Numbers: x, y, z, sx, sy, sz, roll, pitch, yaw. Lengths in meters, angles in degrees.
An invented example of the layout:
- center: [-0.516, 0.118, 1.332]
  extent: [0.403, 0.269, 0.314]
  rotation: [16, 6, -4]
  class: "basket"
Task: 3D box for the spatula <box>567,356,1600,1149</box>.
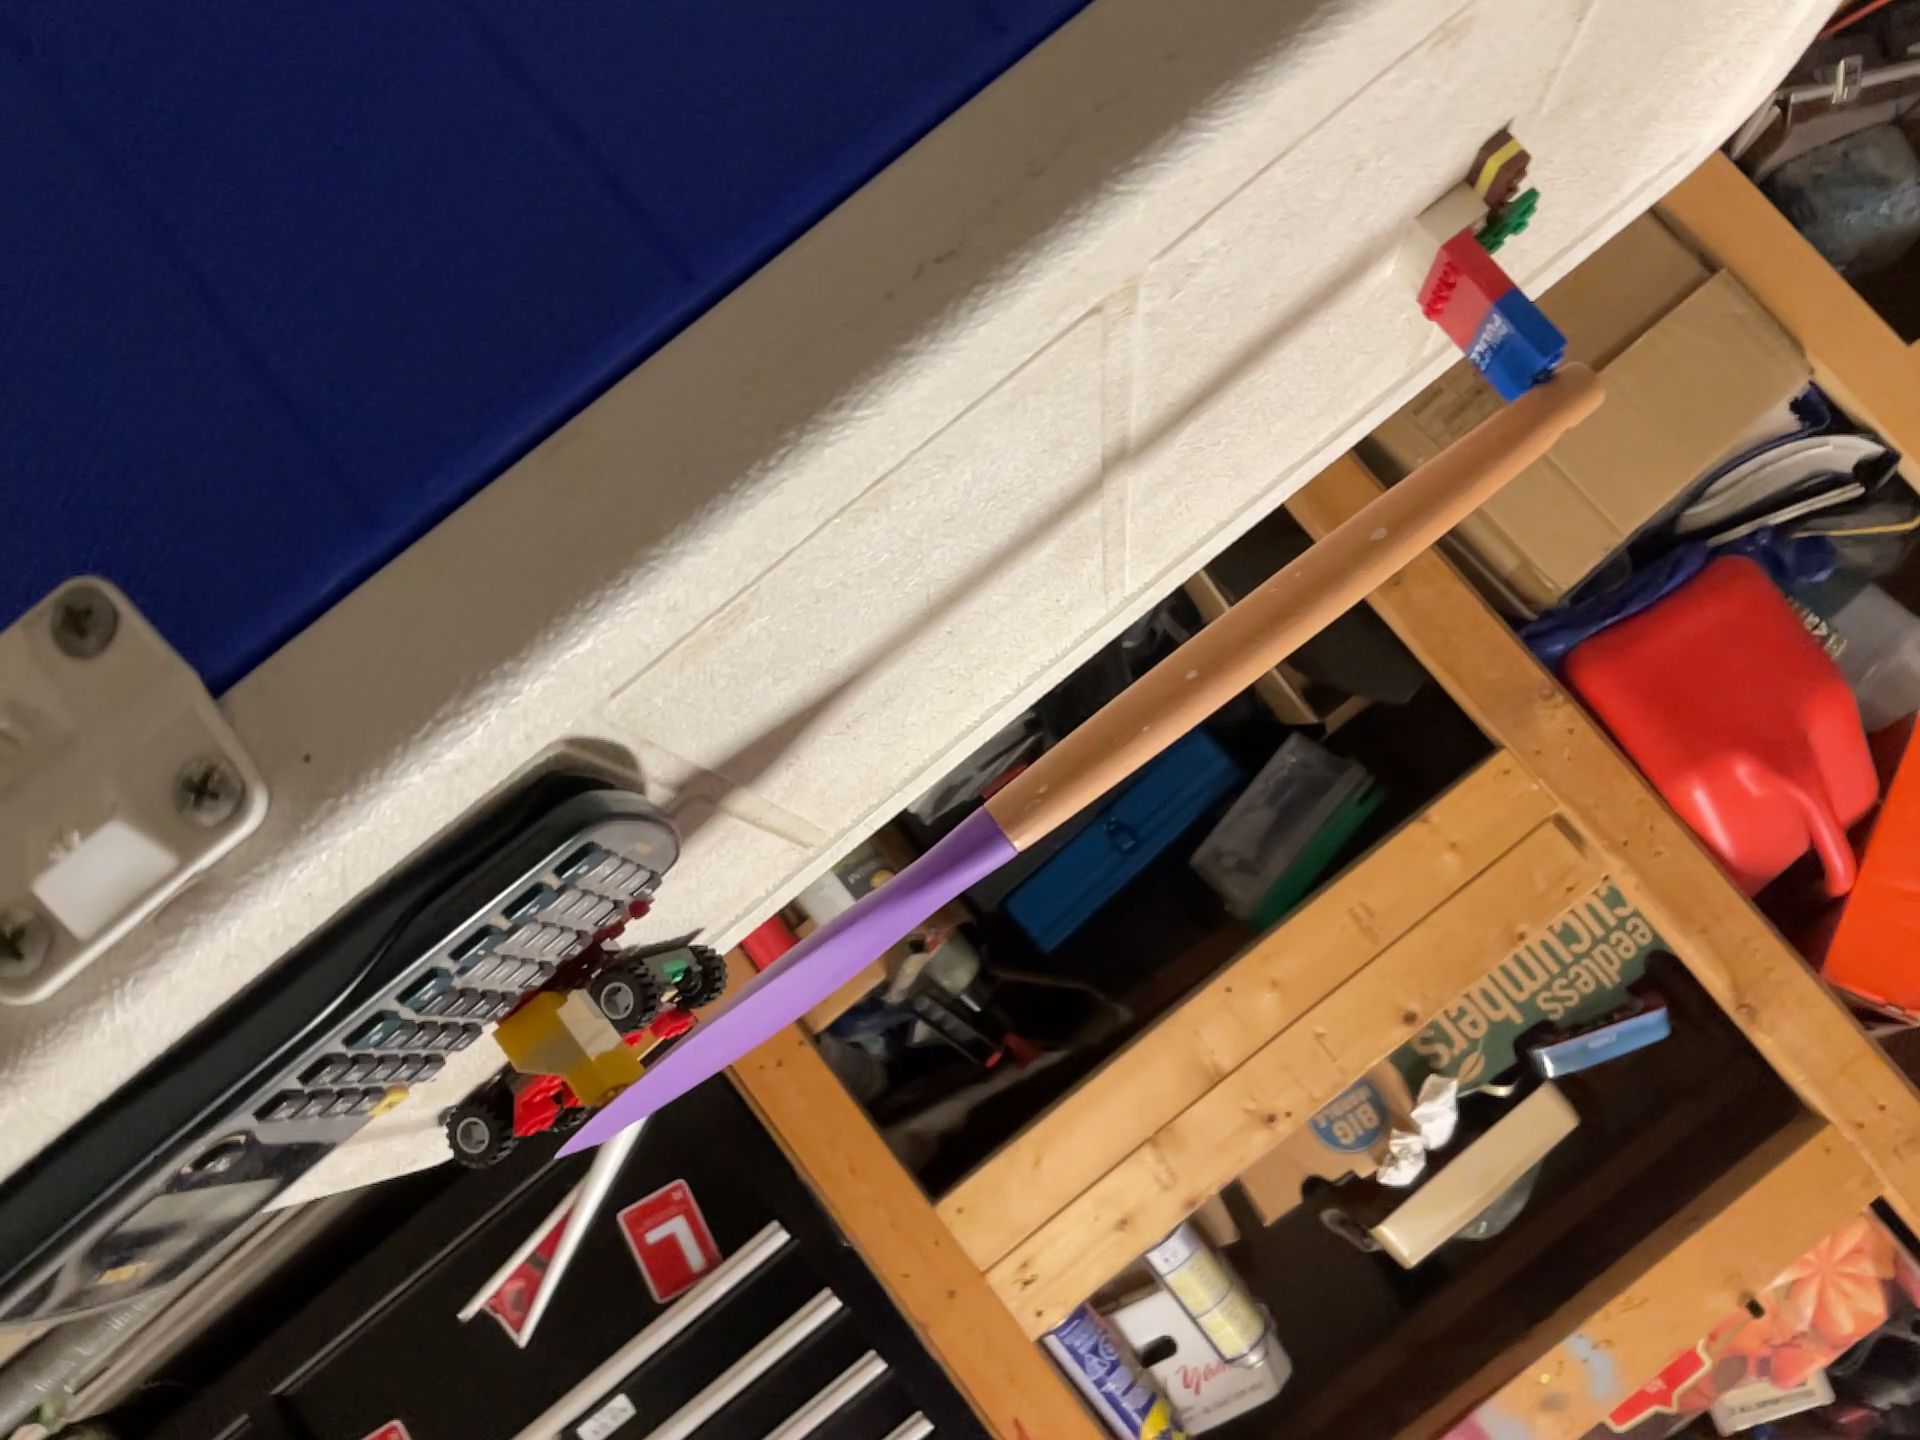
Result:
- center: [0.032, 0.009, 0.397]
  extent: [0.316, 0.018, 0.059]
  rotation: [-37, 170, -1]
  class: "spatula"
